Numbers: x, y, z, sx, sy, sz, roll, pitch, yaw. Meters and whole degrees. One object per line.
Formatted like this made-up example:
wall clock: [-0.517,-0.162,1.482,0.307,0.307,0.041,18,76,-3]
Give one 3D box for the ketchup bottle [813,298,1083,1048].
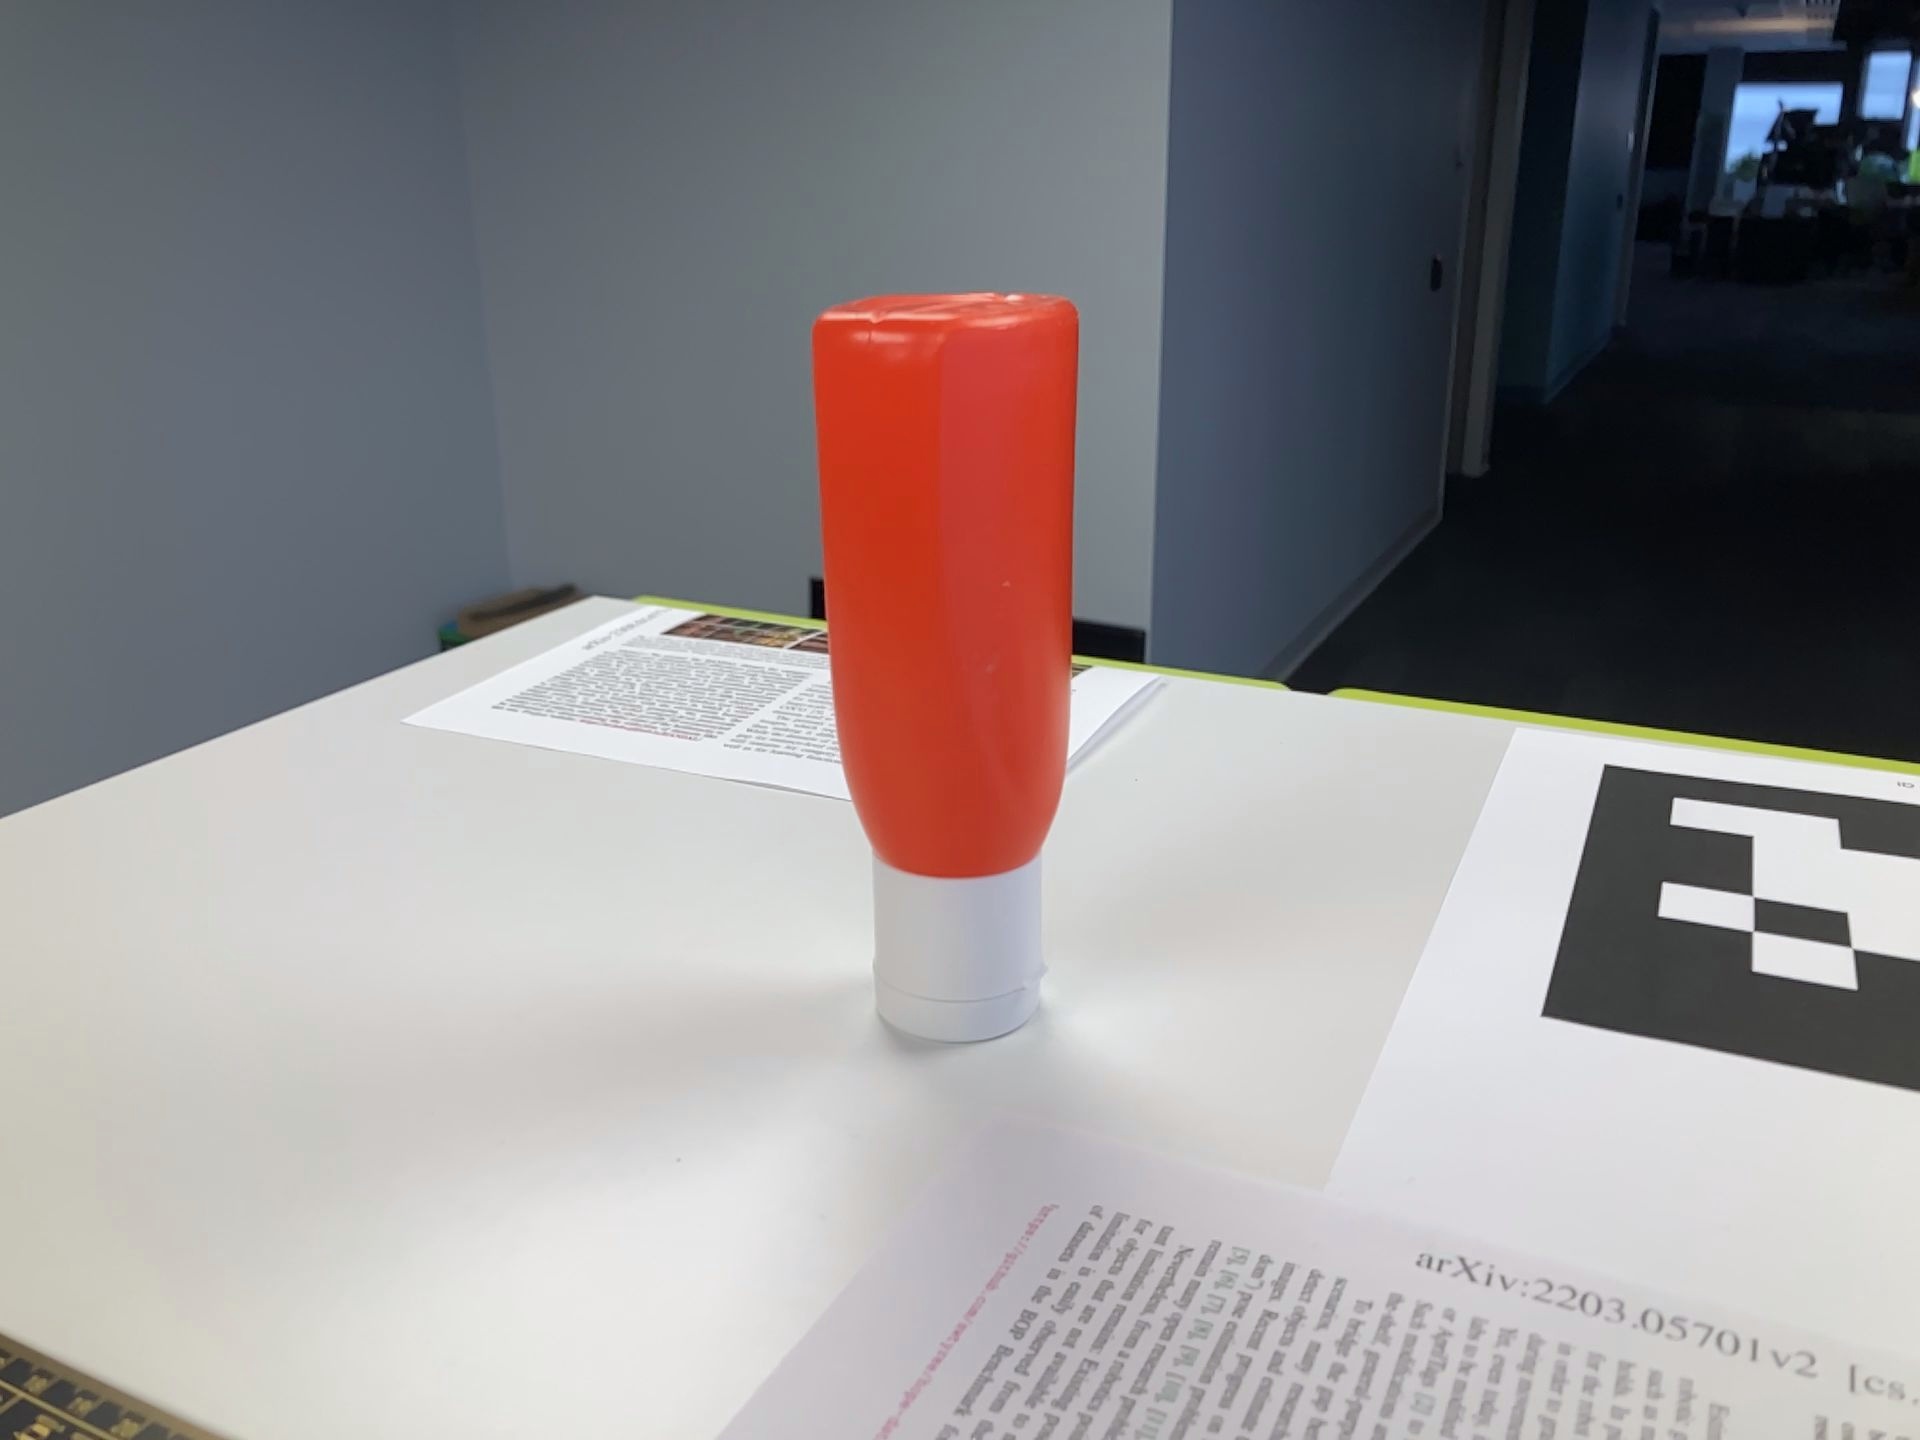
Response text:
ketchup bottle: [0.000,-0.008,0.320,0.043,0.149,0.065,9,20,26]
